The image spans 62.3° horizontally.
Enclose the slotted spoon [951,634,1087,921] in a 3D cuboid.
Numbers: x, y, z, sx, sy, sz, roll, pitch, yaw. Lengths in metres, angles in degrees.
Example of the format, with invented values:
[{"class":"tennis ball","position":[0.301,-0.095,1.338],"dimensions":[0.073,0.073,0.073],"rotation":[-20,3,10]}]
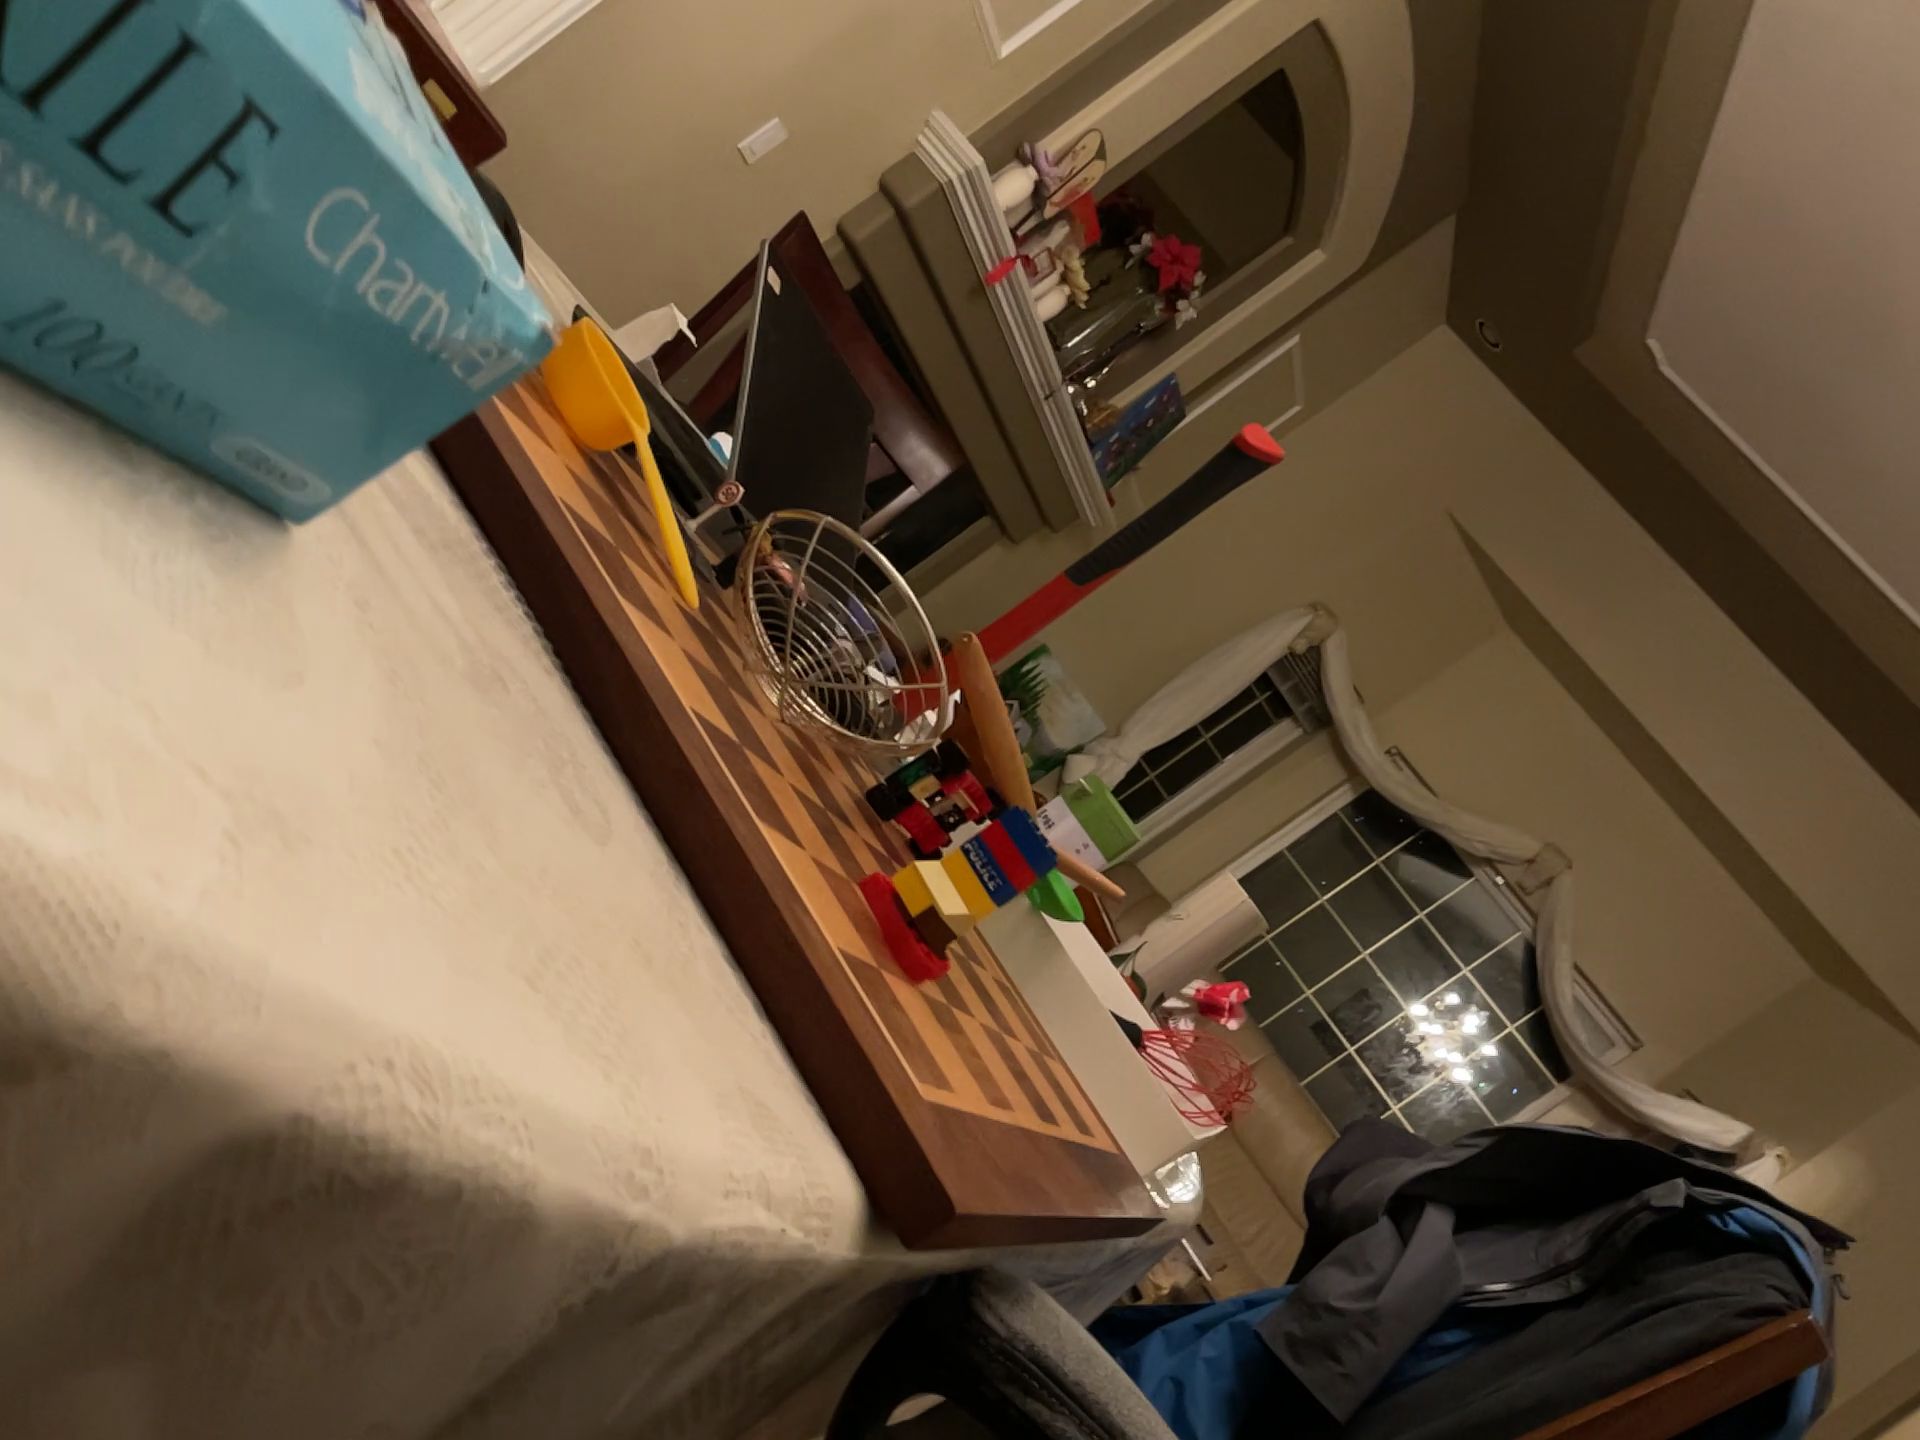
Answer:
[{"class":"slotted spoon","position":[0.032,0.040,0.906],"dimensions":[0.070,0.031,0.313],"rotation":[58,-6,32]}]

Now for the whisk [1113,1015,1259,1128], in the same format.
[{"class":"whisk","position":[0.139,0.249,1.208],"dimensions":[0.295,0.073,0.073],"rotation":[35,-4,-41]}]

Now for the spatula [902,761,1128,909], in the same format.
[{"class":"spatula","position":[0.011,0.057,1.290],"dimensions":[0.318,0.044,0.082],"rotation":[32,-10,26]}]

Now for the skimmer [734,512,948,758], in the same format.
[{"class":"skimmer","position":[-0.048,-0.047,0.855],"dimensions":[0.127,0.090,0.363],"rotation":[53,6,-2]}]

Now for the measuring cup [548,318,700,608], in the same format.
[{"class":"measuring cup","position":[-0.153,-0.113,0.727],"dimensions":[0.062,0.029,0.157],"rotation":[59,9,-69]}]

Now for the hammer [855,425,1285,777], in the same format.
[{"class":"hammer","position":[0.080,-0.089,1.202],"dimensions":[0.038,0.386,0.143],"rotation":[55,2,24]}]
